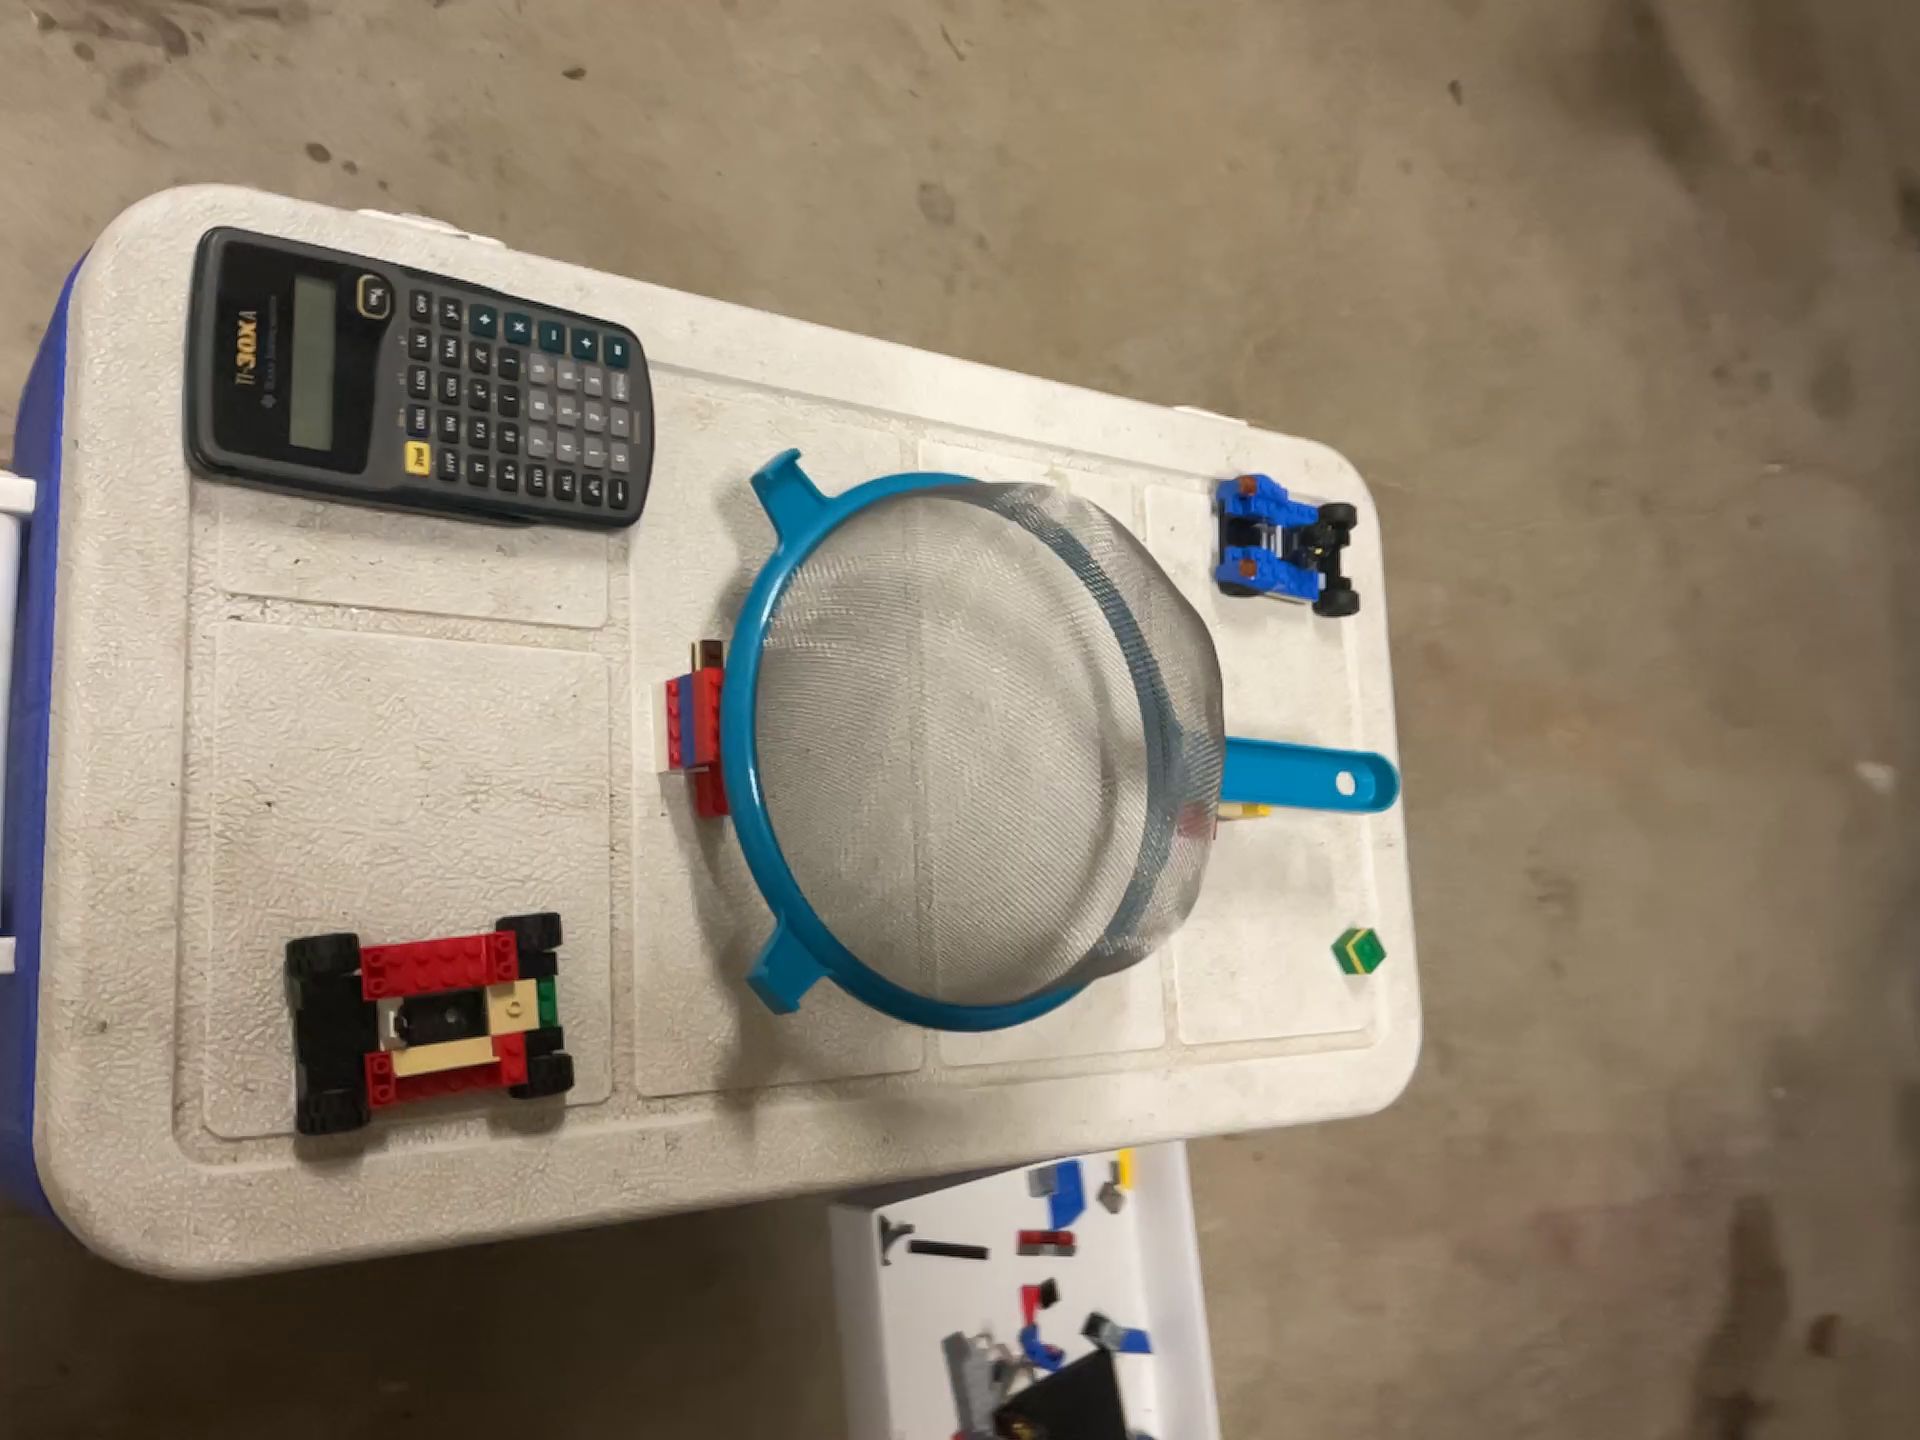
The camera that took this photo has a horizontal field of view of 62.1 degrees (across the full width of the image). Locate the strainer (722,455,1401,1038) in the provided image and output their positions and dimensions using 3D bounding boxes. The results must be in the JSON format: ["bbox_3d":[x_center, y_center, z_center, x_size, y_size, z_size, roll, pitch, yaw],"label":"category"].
[{"bbox_3d":[0.080,0.011,0.605,0.340,0.095,0.211,6,78,-36],"label":"strainer"}]
